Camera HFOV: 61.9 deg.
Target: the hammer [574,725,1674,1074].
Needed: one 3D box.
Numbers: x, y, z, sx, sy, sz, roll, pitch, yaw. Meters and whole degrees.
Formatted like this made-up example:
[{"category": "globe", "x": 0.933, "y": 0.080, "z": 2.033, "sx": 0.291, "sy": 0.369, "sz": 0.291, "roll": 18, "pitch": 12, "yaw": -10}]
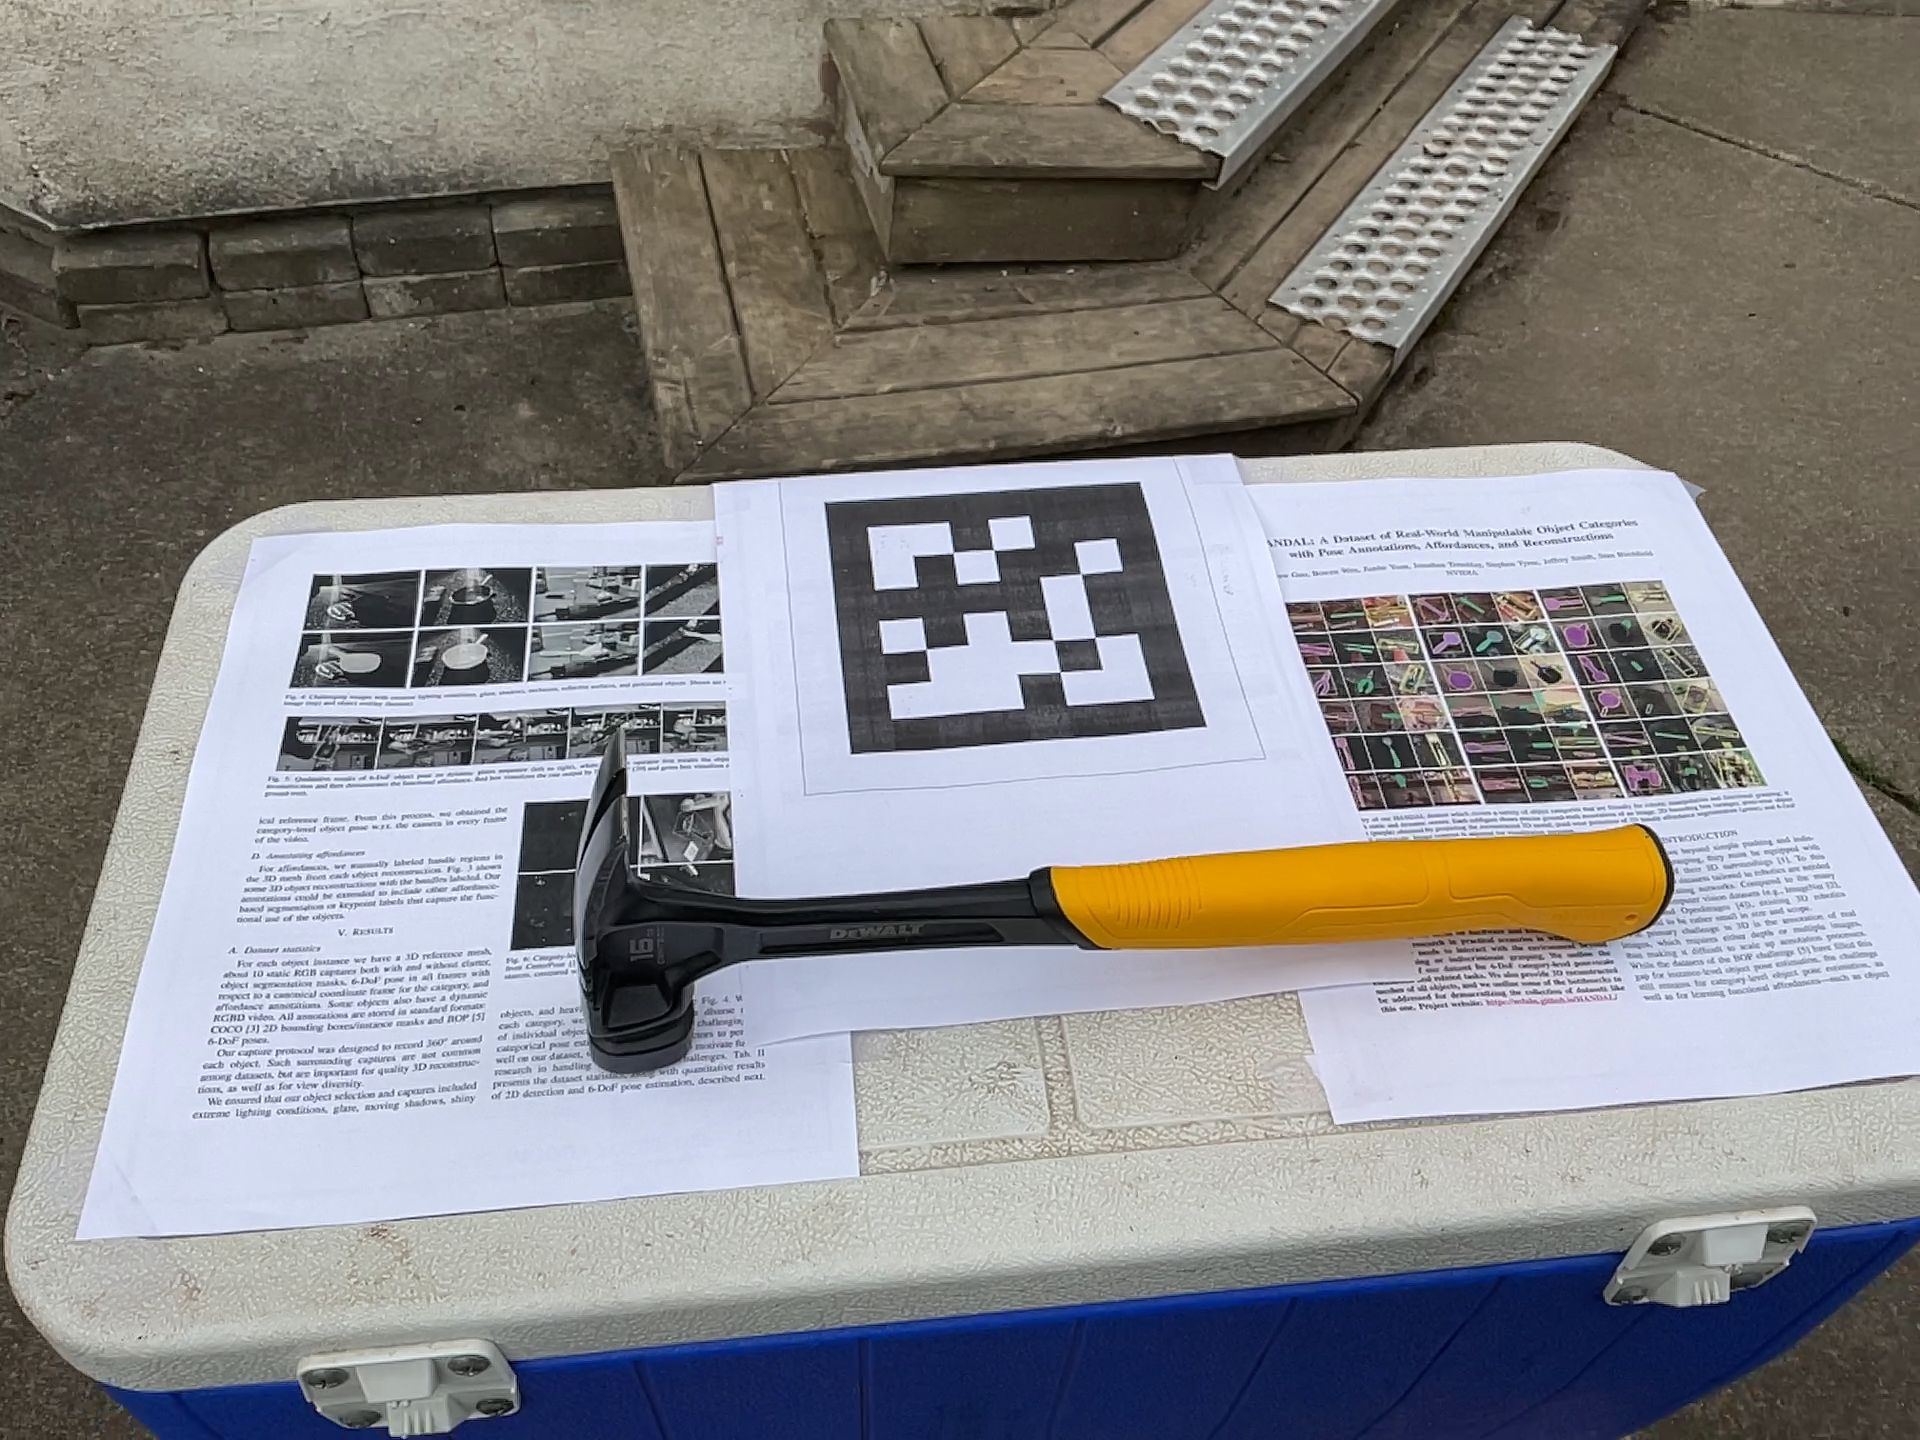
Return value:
[{"category": "hammer", "x": 0.058, "y": 0.050, "z": 0.475, "sx": 0.336, "sy": 0.127, "sz": 0.034, "roll": -2, "pitch": 50, "yaw": -12}]
